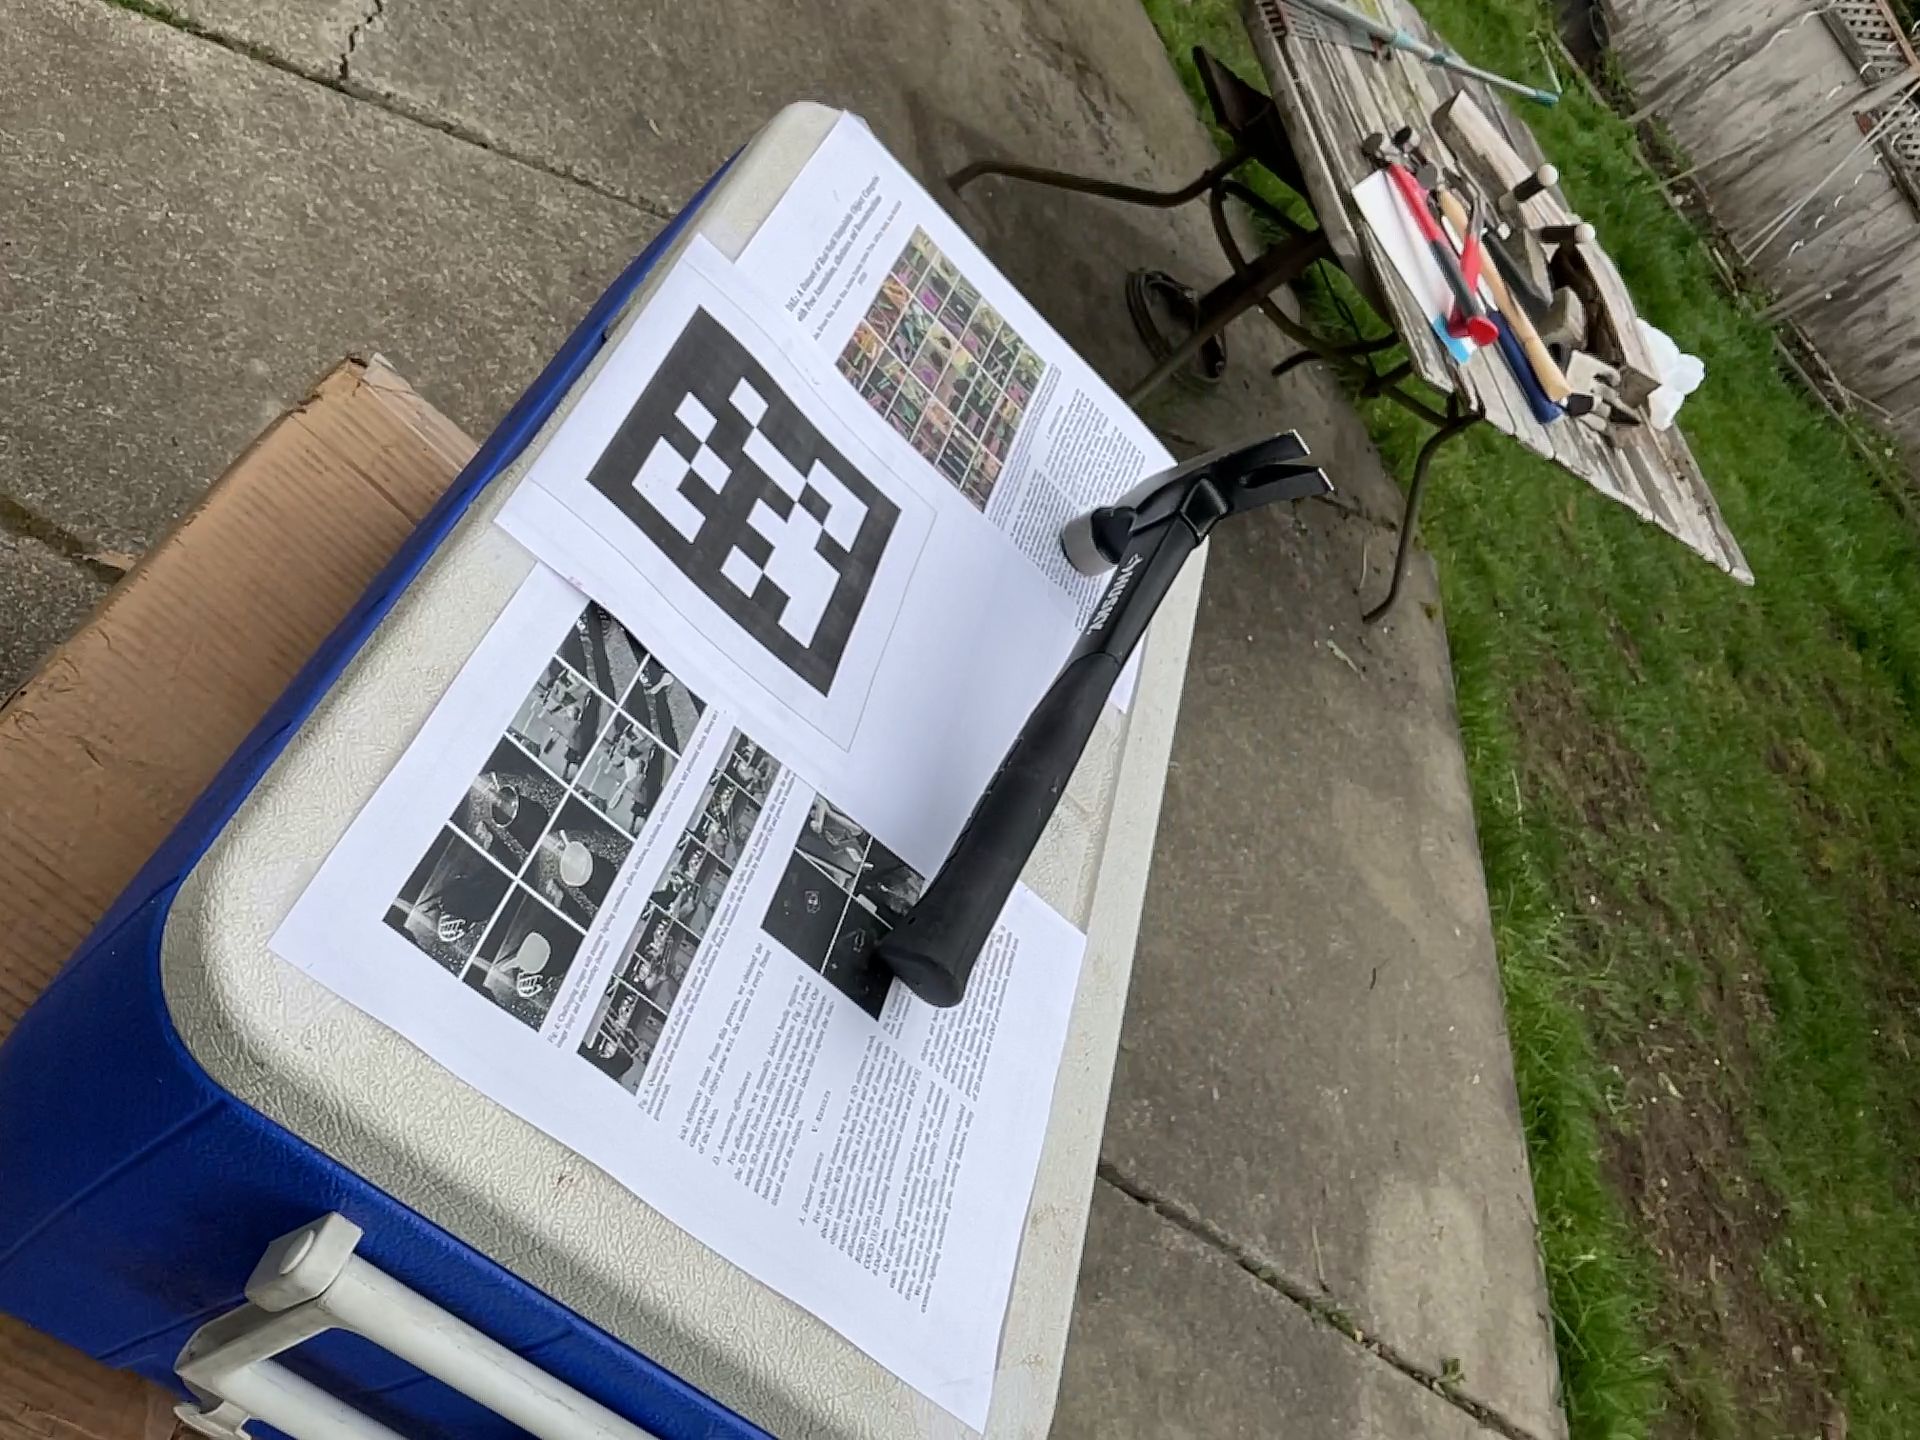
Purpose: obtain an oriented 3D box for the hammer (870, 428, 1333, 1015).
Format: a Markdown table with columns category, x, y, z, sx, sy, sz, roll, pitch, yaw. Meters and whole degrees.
| category | x | y | z | sx | sy | sz | roll | pitch | yaw |
| --- | --- | --- | --- | --- | --- | --- | --- | --- | --- |
| hammer | 0.052 | -0.011 | 0.666 | 0.035 | 0.146 | 0.335 | 51 | 45 | -20 |
